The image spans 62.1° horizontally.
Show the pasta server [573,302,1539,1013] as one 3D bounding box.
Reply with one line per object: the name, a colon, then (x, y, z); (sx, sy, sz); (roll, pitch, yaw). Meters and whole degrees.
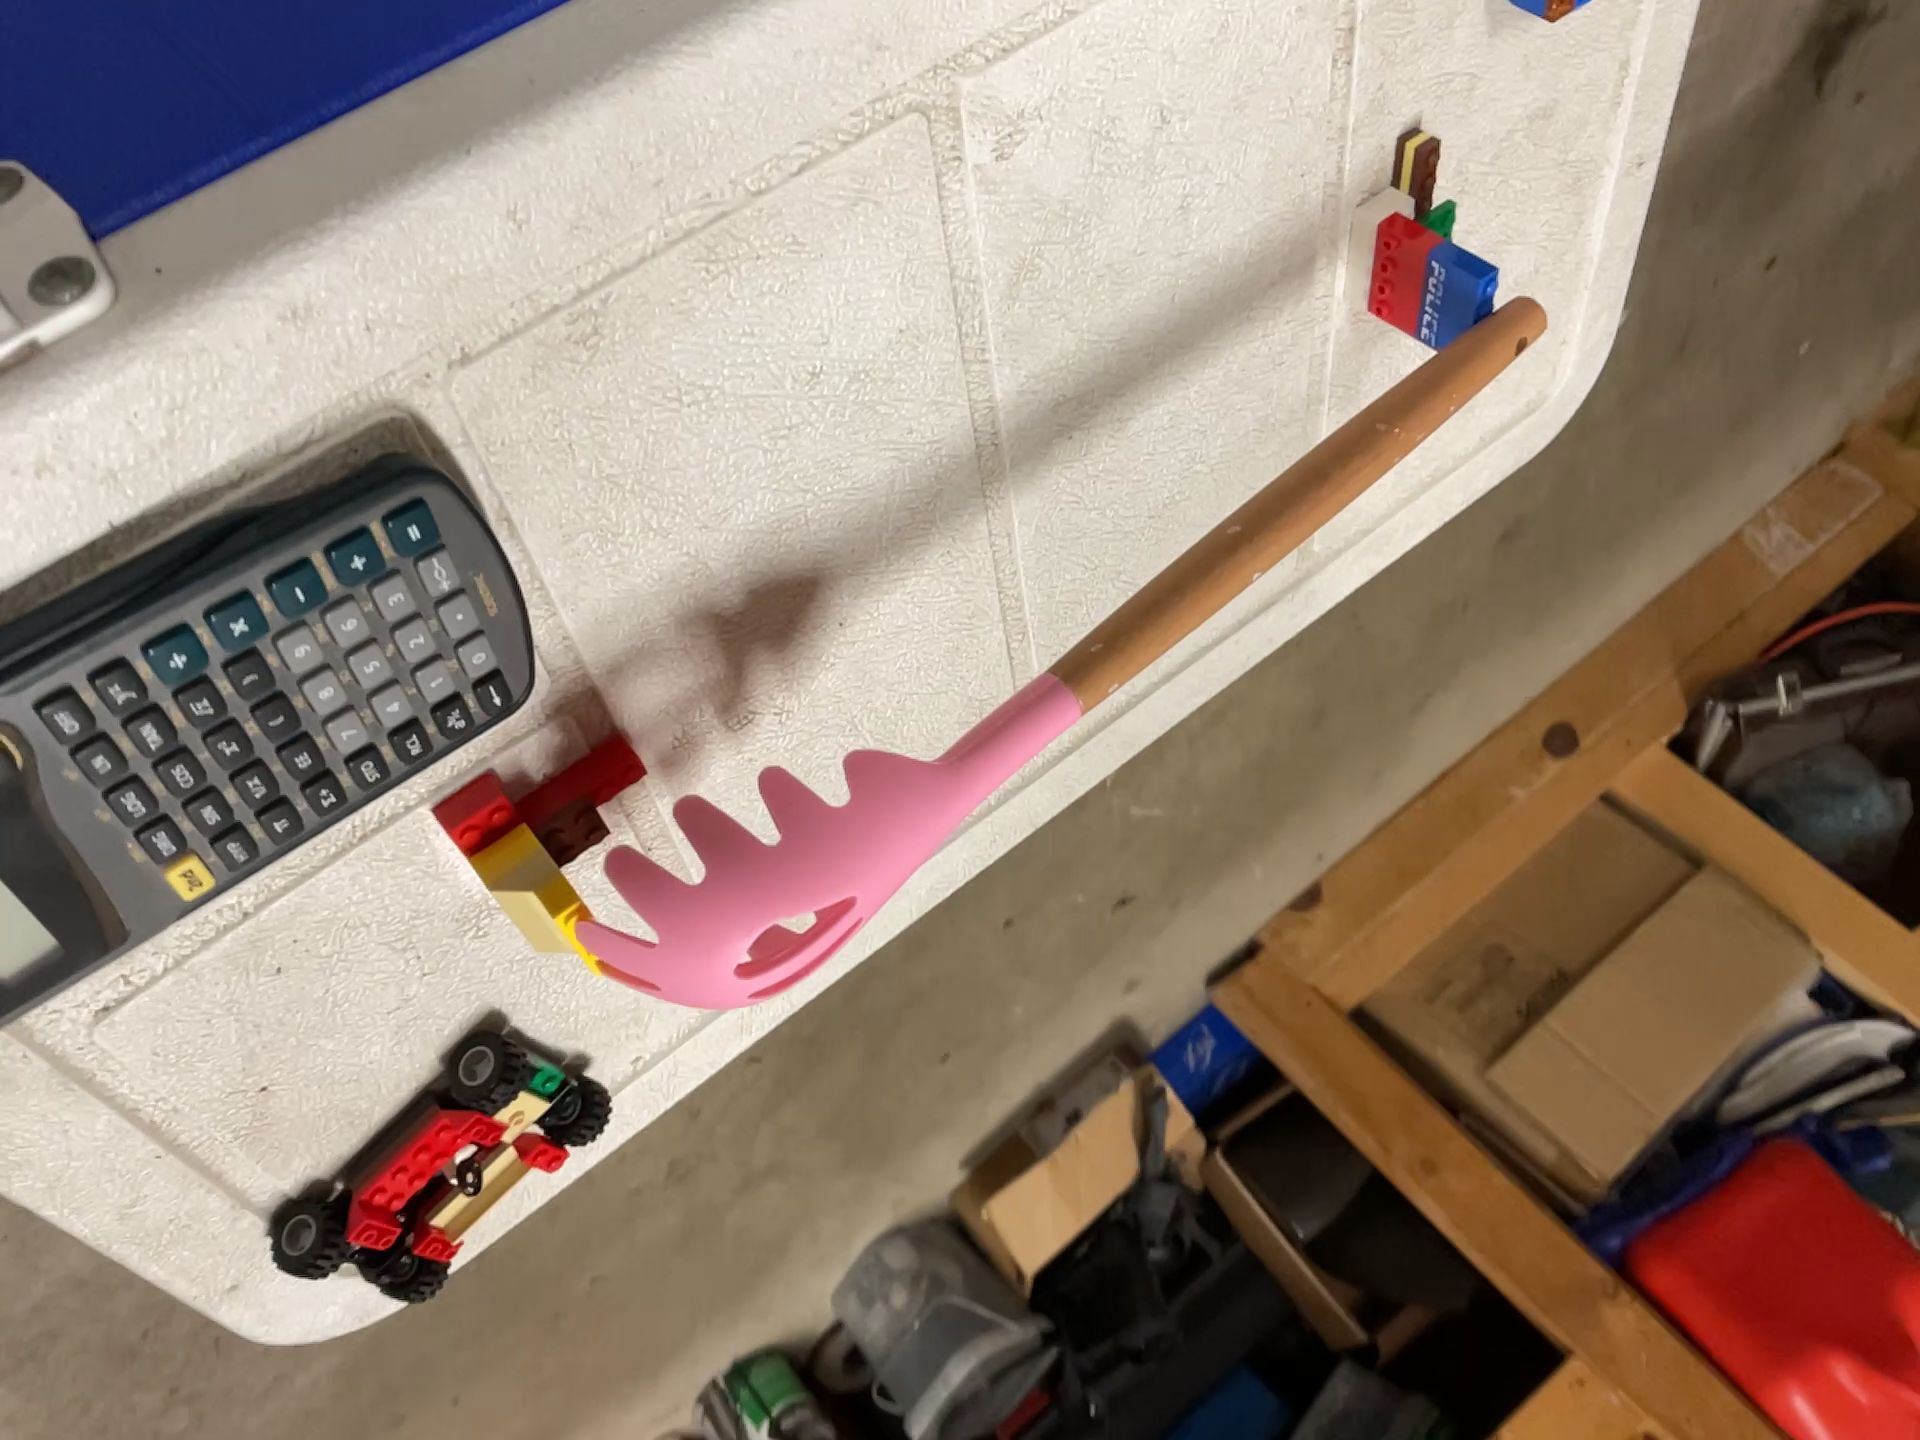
pasta server: (0.041, -0.027, 0.420); (0.316, 0.040, 0.060); (-39, 146, -18)
